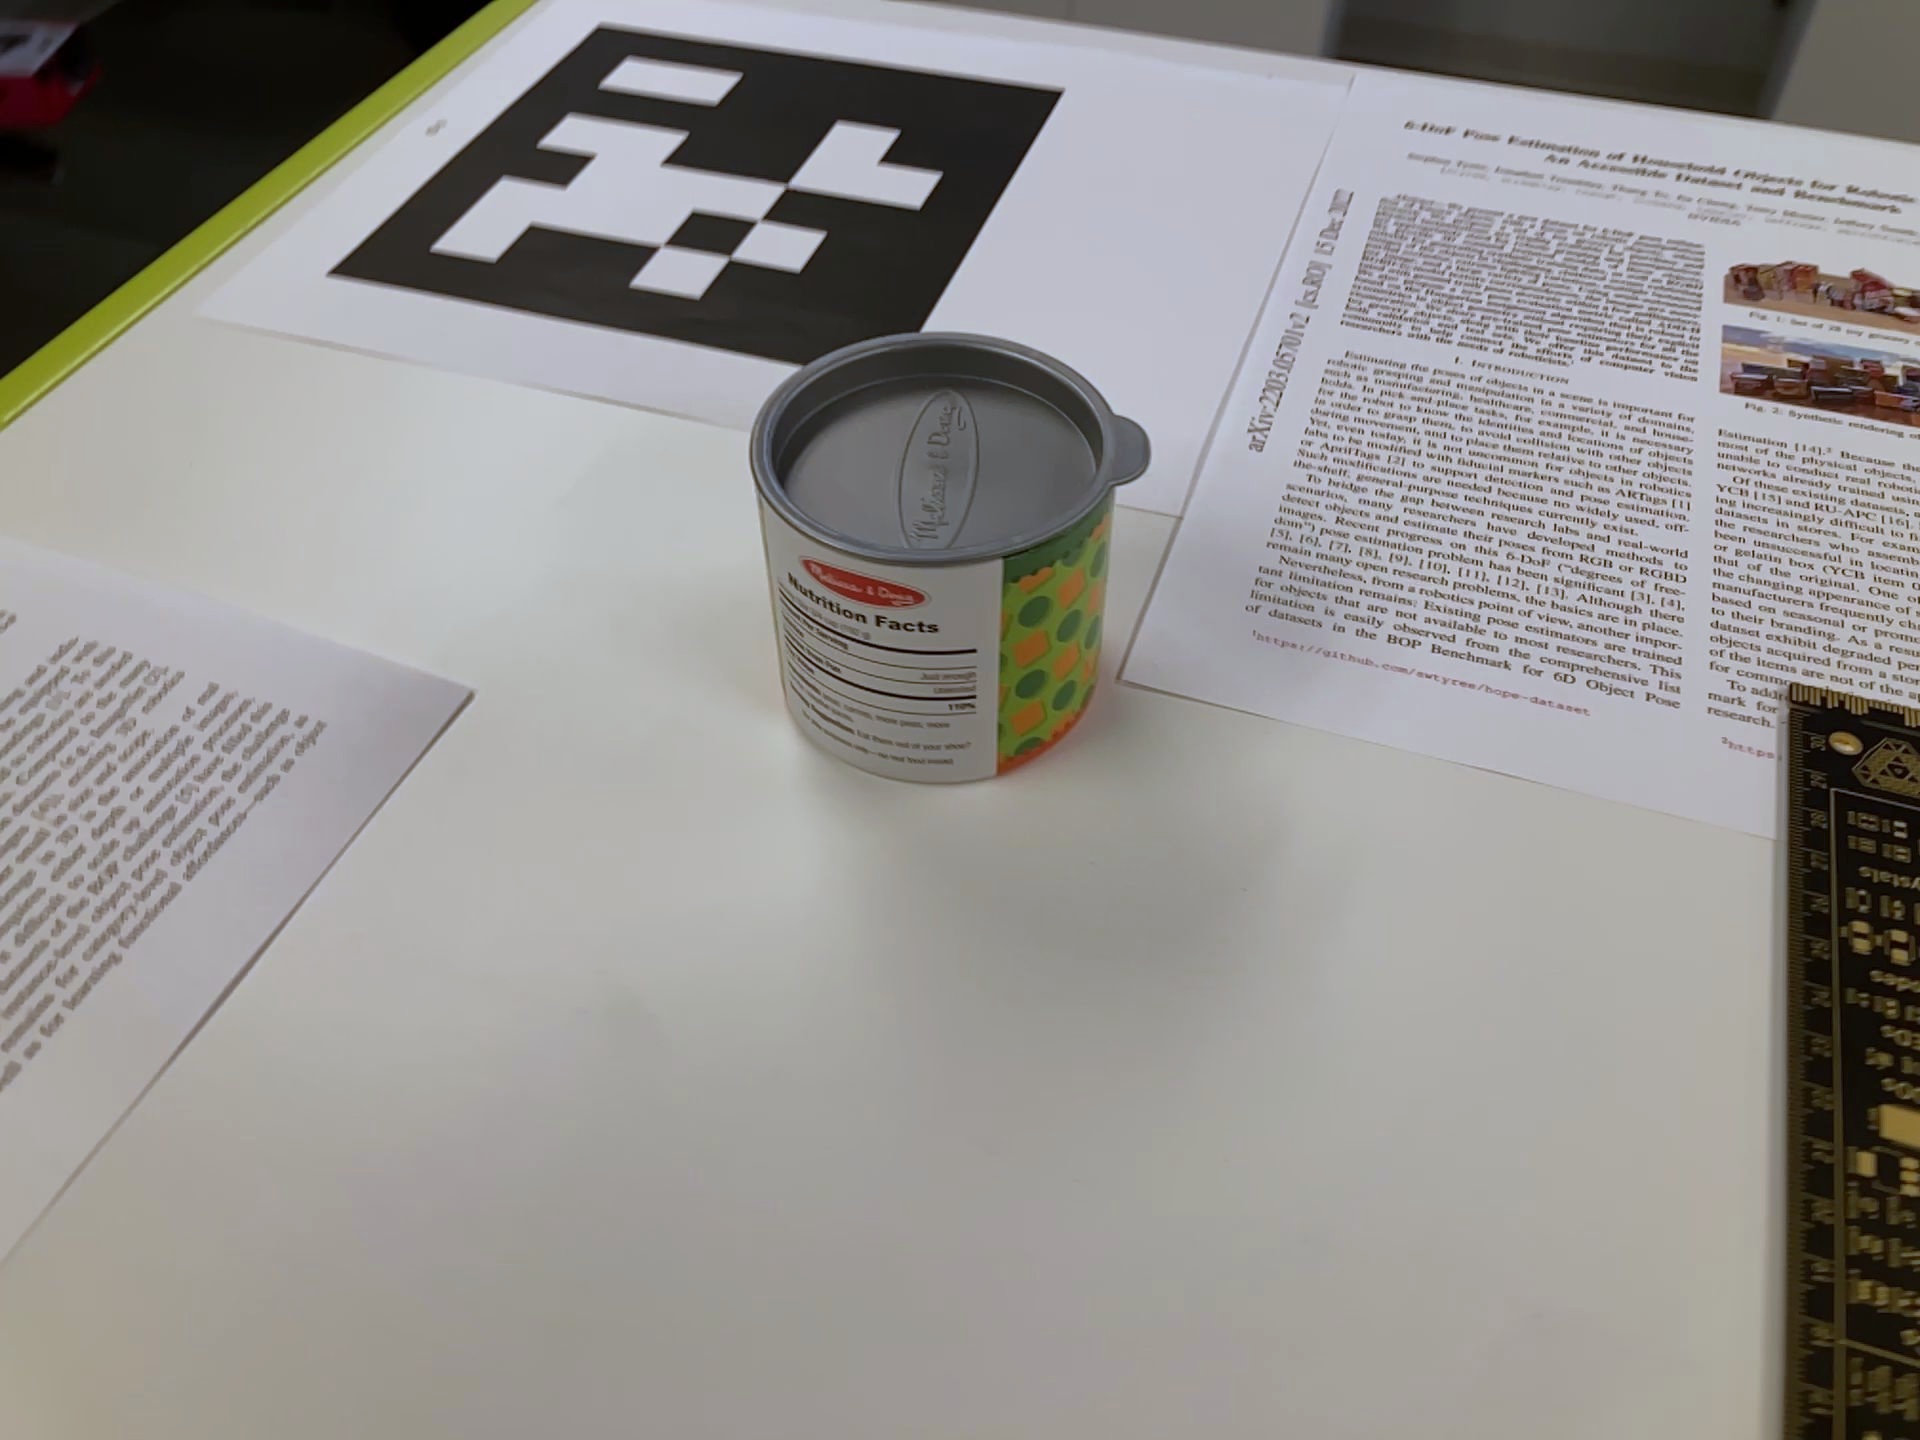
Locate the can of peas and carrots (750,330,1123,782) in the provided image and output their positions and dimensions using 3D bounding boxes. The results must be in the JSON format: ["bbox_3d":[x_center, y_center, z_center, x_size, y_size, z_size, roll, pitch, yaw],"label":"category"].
[{"bbox_3d":[-0.003,-0.032,0.304,0.071,0.059,0.071,0,47,0],"label":"can of peas and carrots"}]
